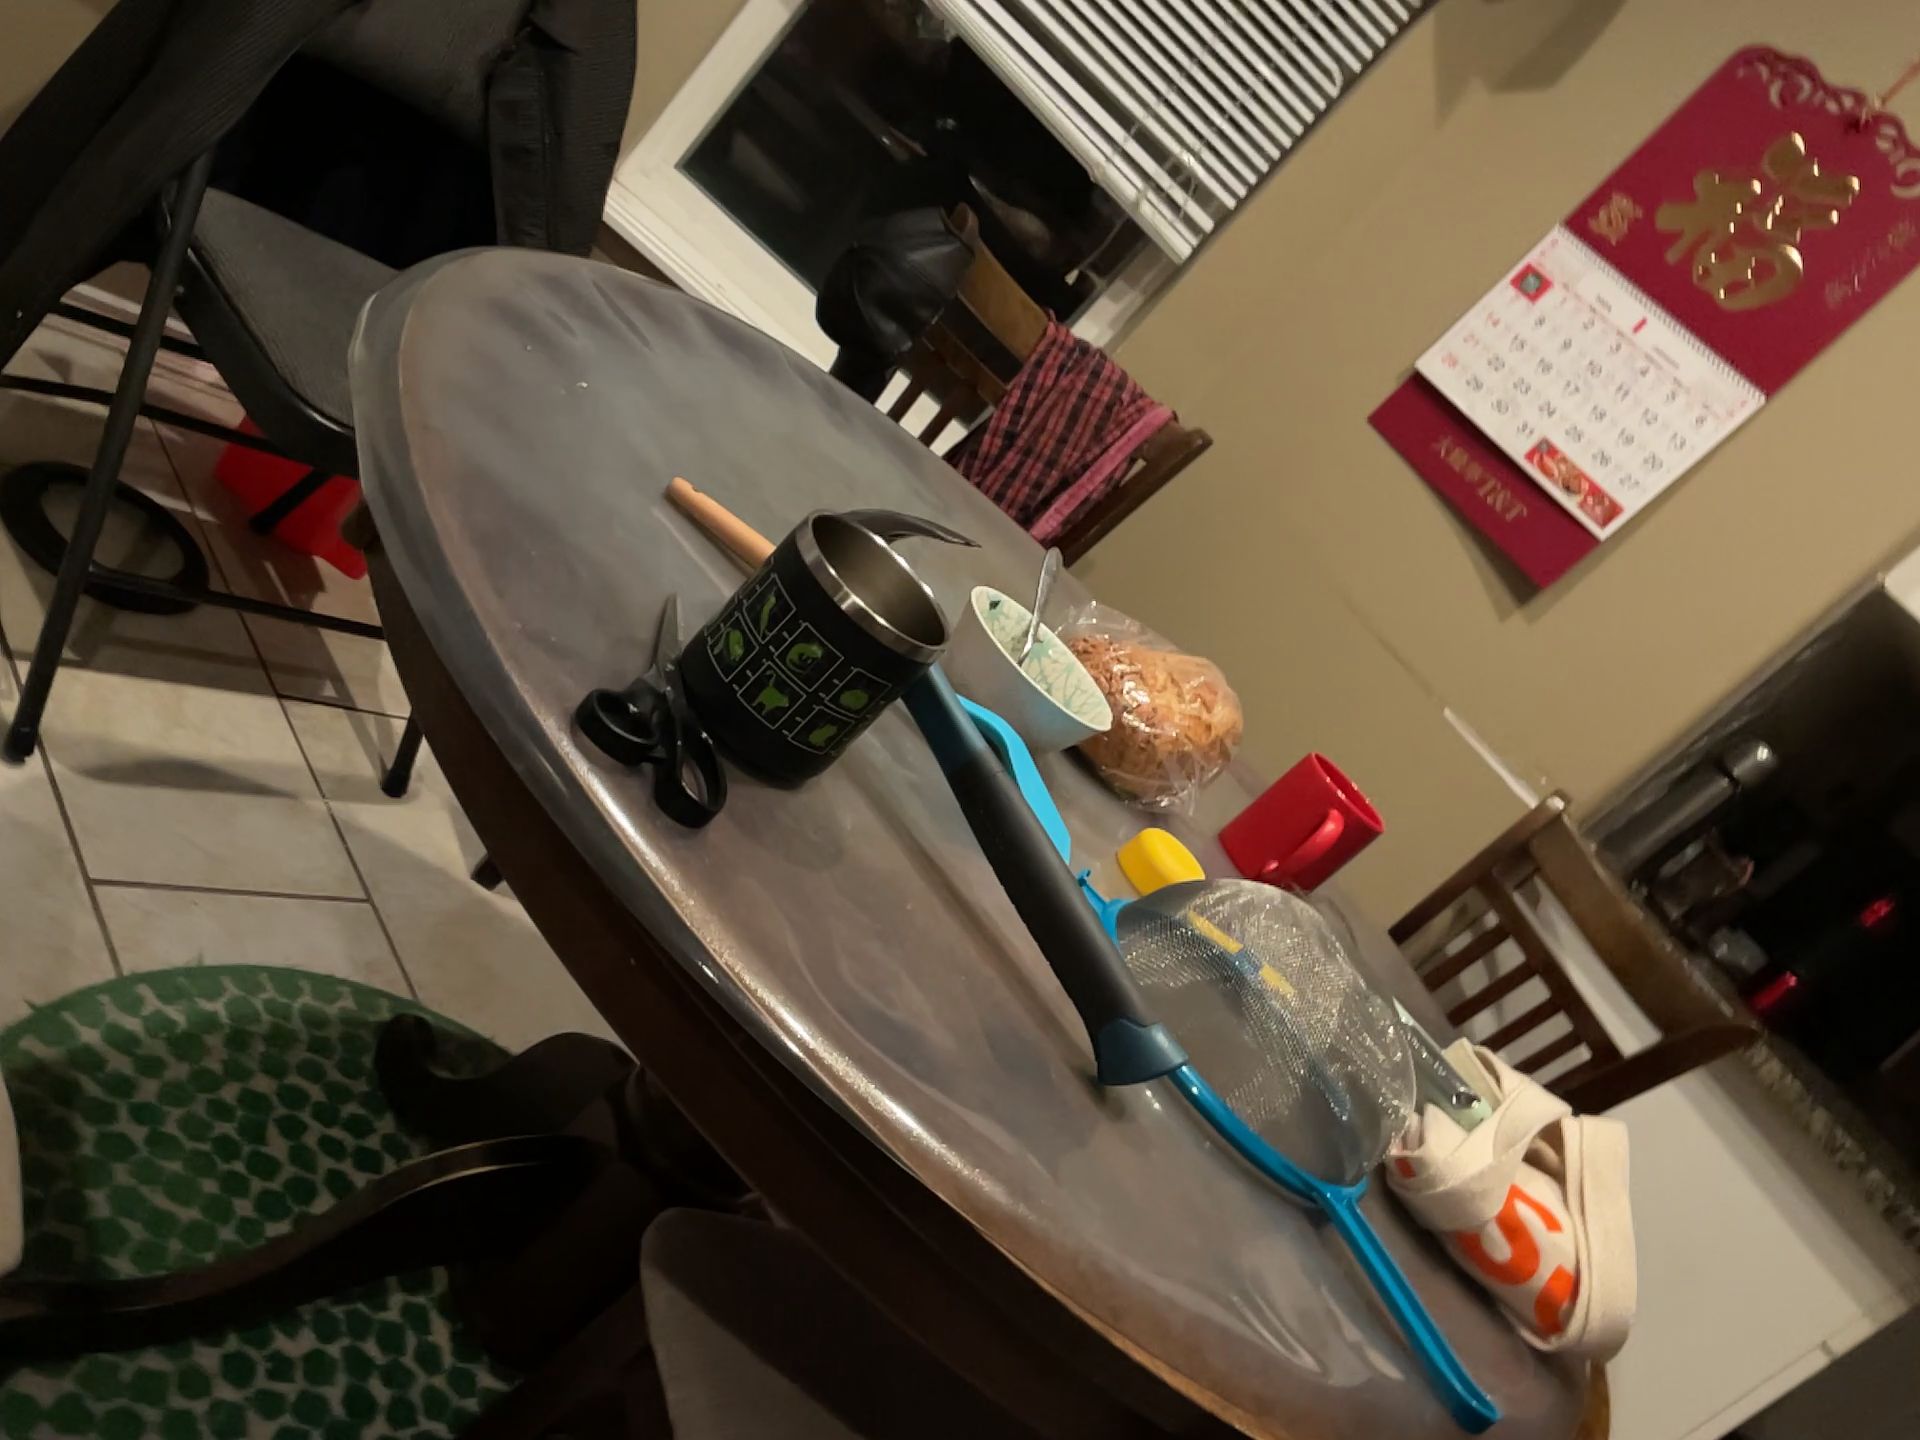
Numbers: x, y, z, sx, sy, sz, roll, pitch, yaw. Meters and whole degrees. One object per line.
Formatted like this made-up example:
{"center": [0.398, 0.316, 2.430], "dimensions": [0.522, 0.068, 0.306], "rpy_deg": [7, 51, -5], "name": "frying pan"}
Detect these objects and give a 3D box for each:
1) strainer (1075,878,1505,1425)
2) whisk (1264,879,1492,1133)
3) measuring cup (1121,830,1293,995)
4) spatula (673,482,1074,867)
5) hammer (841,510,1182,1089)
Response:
{"center": [0.203, 0.197, 0.856], "dimensions": [0.211, 0.095, 0.341], "rpy_deg": [27, 21, -42], "name": "strainer"}
{"center": [0.274, 0.185, 1.062], "dimensions": [0.246, 0.058, 0.059], "rpy_deg": [-124, -168, -54], "name": "whisk"}
{"center": [0.170, 0.126, 1.040], "dimensions": [0.156, 0.029, 0.062], "rpy_deg": [39, 19, -14], "name": "measuring cup"}
{"center": [-0.044, -0.025, 0.924], "dimensions": [0.317, 0.044, 0.082], "rpy_deg": [39, 19, -4], "name": "spatula"}
{"center": [0.008, 0.036, 0.800], "dimensions": [0.331, 0.128, 0.033], "rpy_deg": [60, 24, 15], "name": "hammer"}
